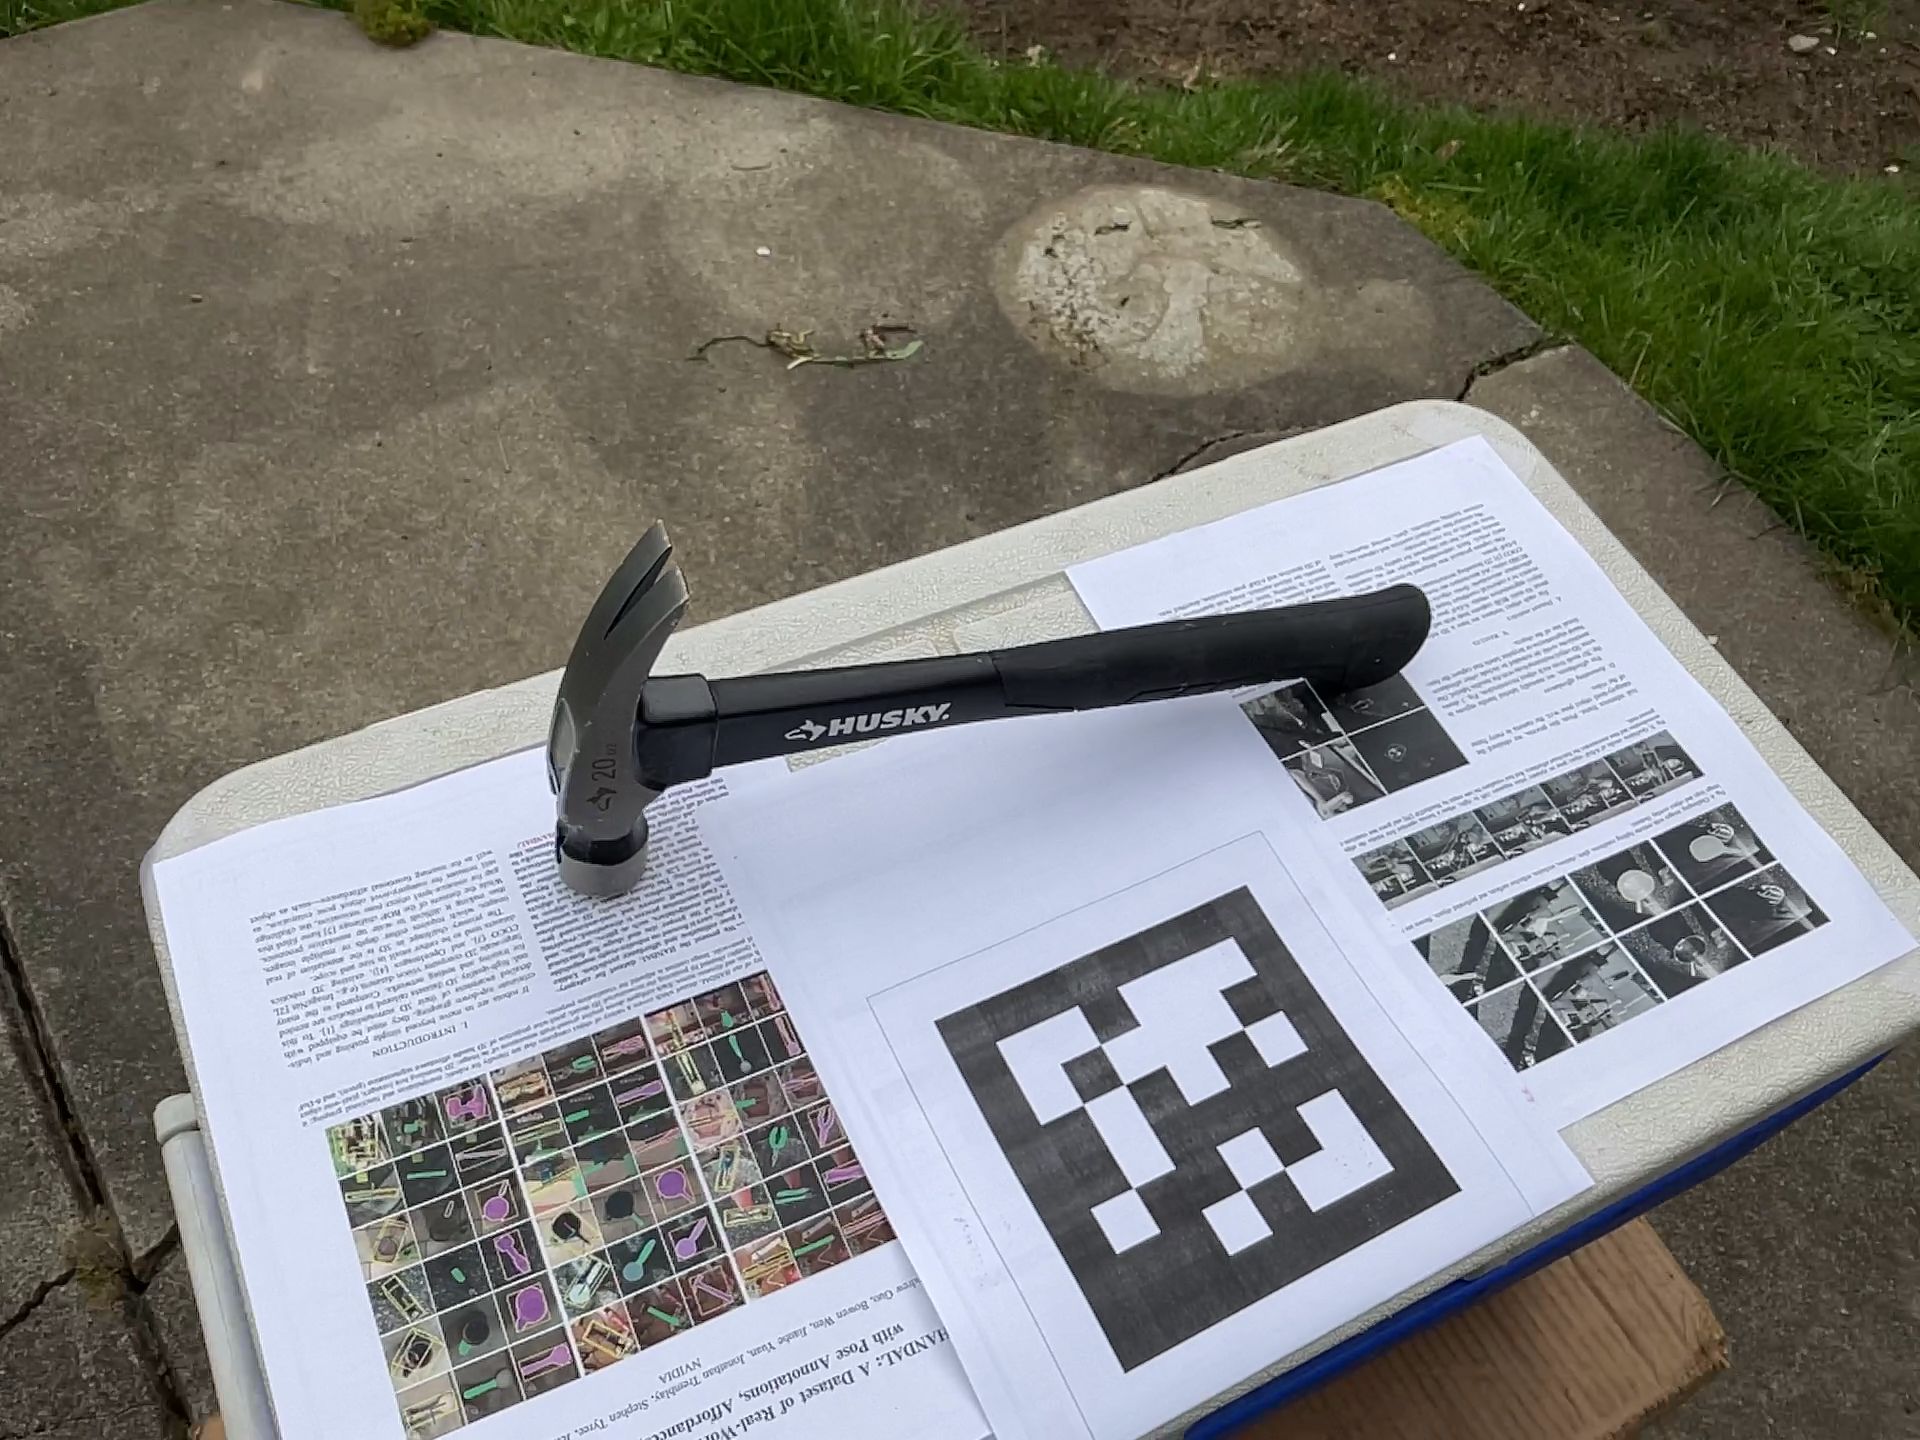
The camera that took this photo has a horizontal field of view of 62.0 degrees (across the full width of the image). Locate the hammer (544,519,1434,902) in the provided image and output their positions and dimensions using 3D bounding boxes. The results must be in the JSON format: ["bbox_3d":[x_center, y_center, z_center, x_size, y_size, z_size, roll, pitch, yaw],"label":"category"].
[{"bbox_3d":[0.025,-0.017,0.564,0.334,0.146,0.035,-8,51,-22],"label":"hammer"}]
